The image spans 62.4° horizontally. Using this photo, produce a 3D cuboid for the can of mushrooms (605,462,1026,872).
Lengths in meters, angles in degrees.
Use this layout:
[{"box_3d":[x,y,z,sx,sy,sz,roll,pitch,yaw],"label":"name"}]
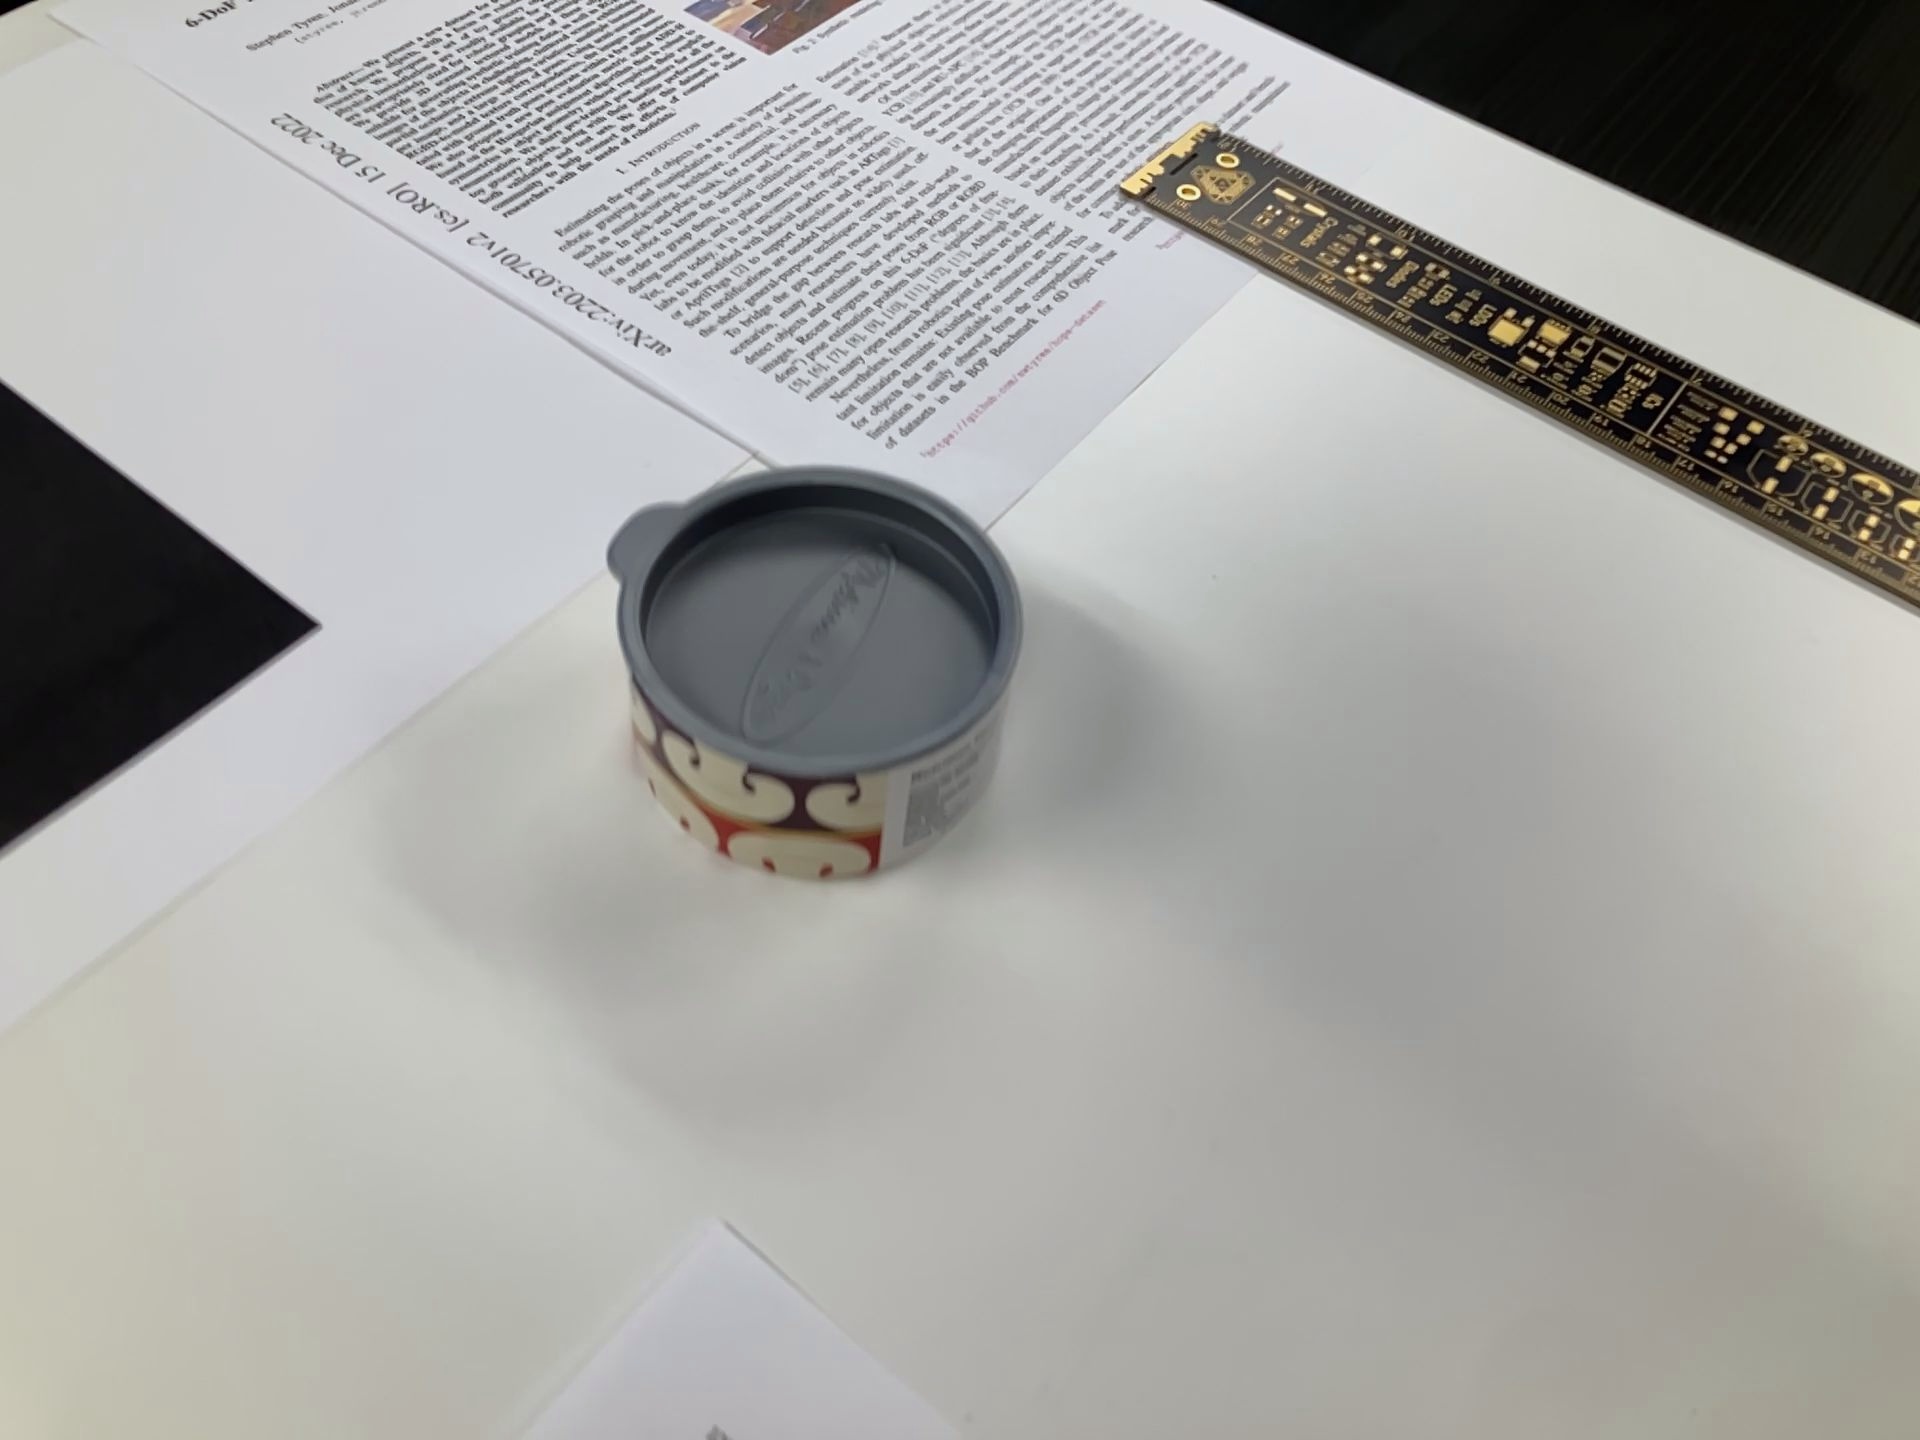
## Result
[{"box_3d":[-0.026,-0.011,0.270,0.071,0.033,0.071,3,54,-4],"label":"can of mushrooms"}]
